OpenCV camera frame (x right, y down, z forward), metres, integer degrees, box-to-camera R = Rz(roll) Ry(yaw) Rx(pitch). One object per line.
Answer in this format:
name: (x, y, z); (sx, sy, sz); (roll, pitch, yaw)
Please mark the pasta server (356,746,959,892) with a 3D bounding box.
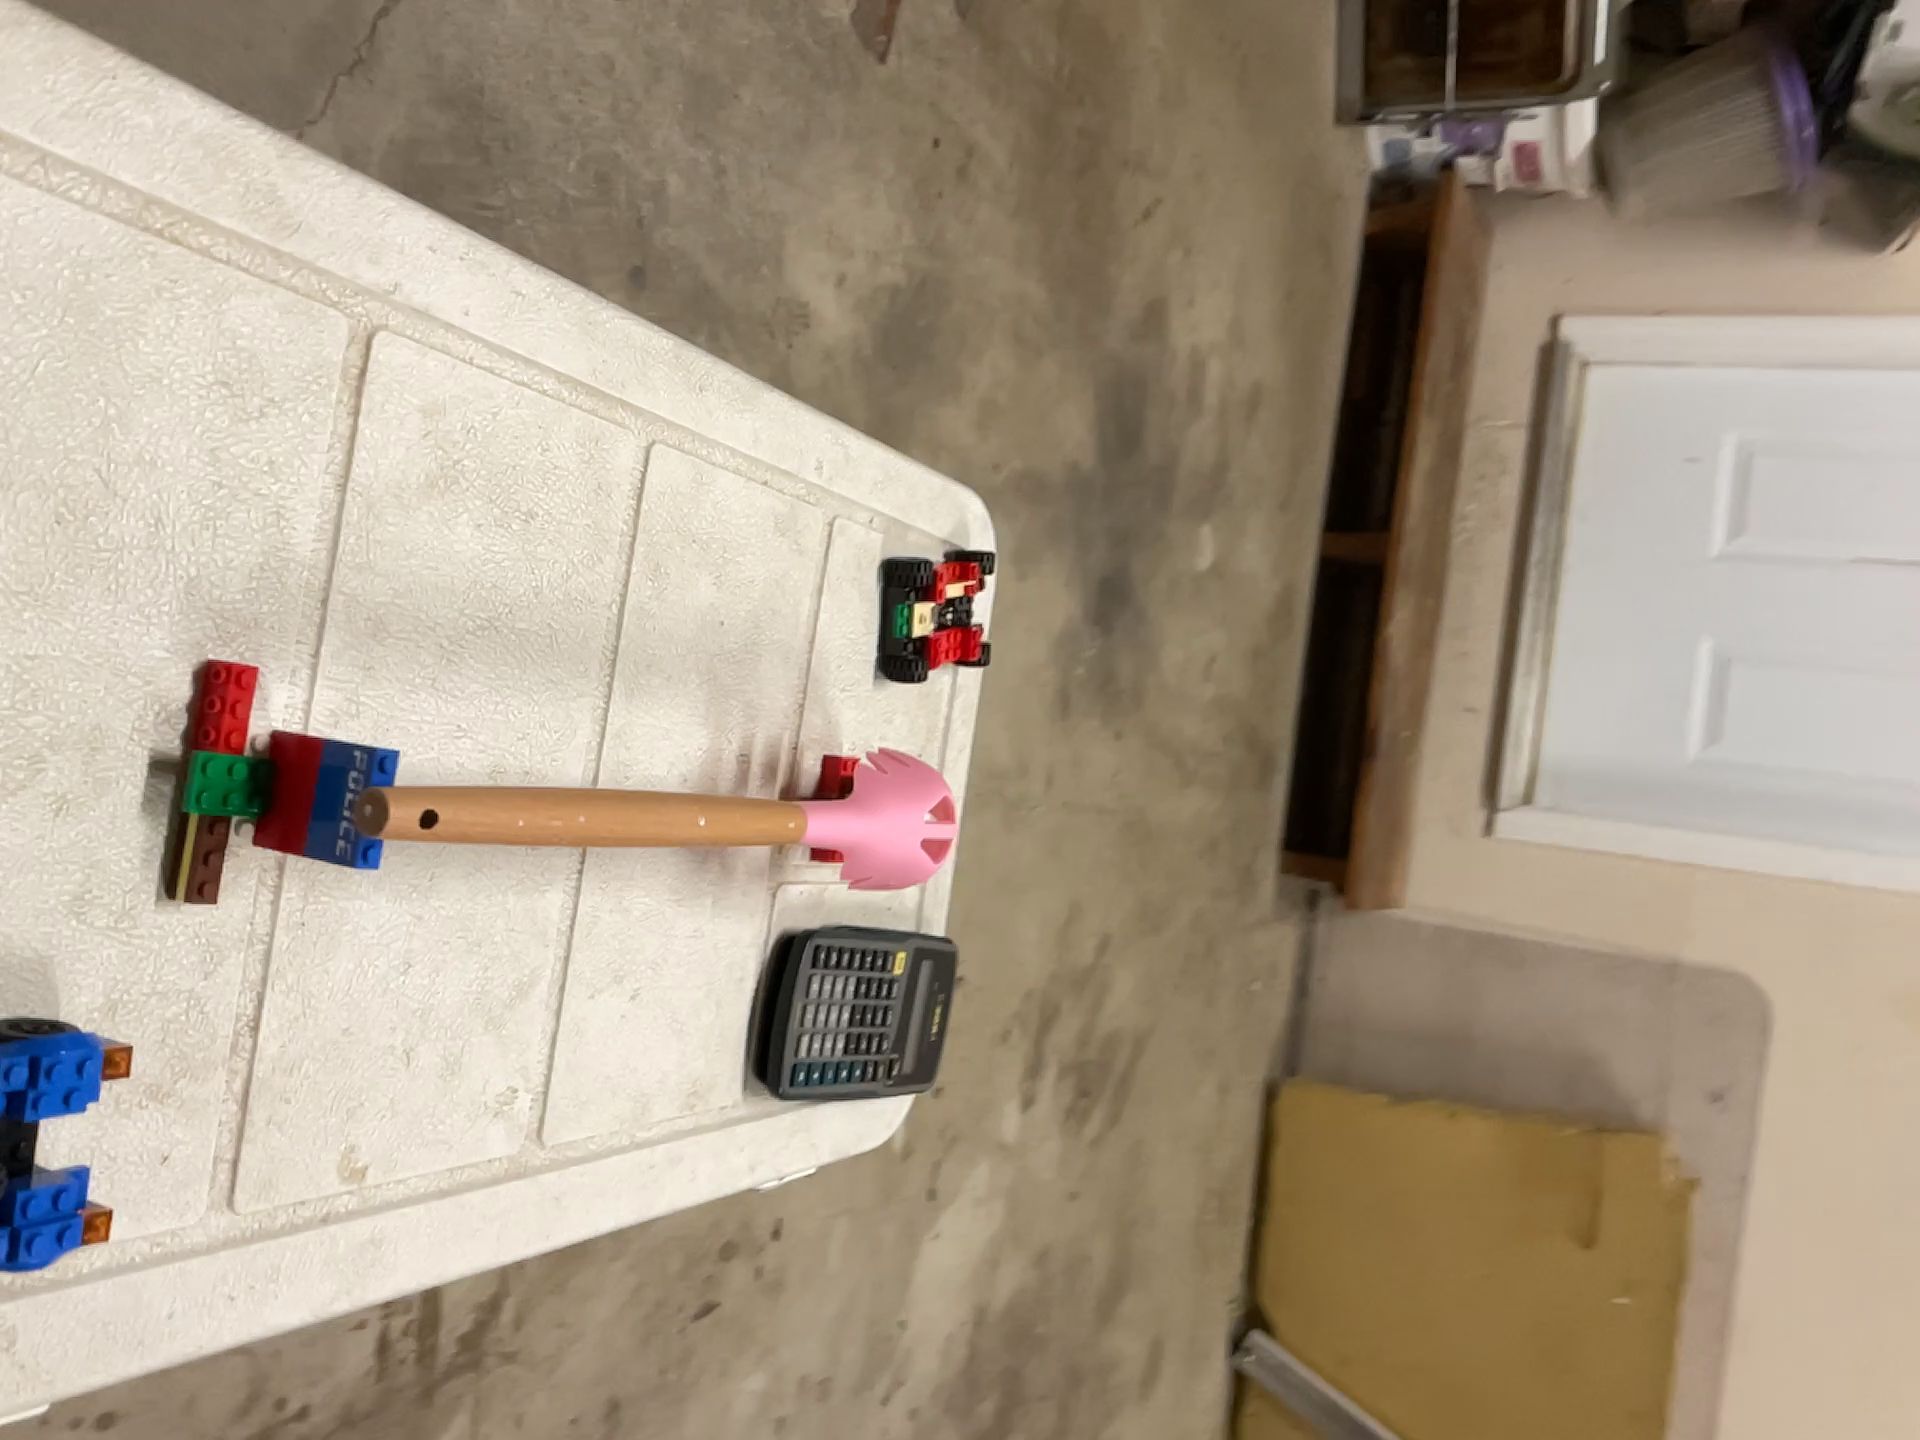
pasta server: (-0.080, 0.033, 0.546); (0.316, 0.040, 0.060); (9, 90, -61)
